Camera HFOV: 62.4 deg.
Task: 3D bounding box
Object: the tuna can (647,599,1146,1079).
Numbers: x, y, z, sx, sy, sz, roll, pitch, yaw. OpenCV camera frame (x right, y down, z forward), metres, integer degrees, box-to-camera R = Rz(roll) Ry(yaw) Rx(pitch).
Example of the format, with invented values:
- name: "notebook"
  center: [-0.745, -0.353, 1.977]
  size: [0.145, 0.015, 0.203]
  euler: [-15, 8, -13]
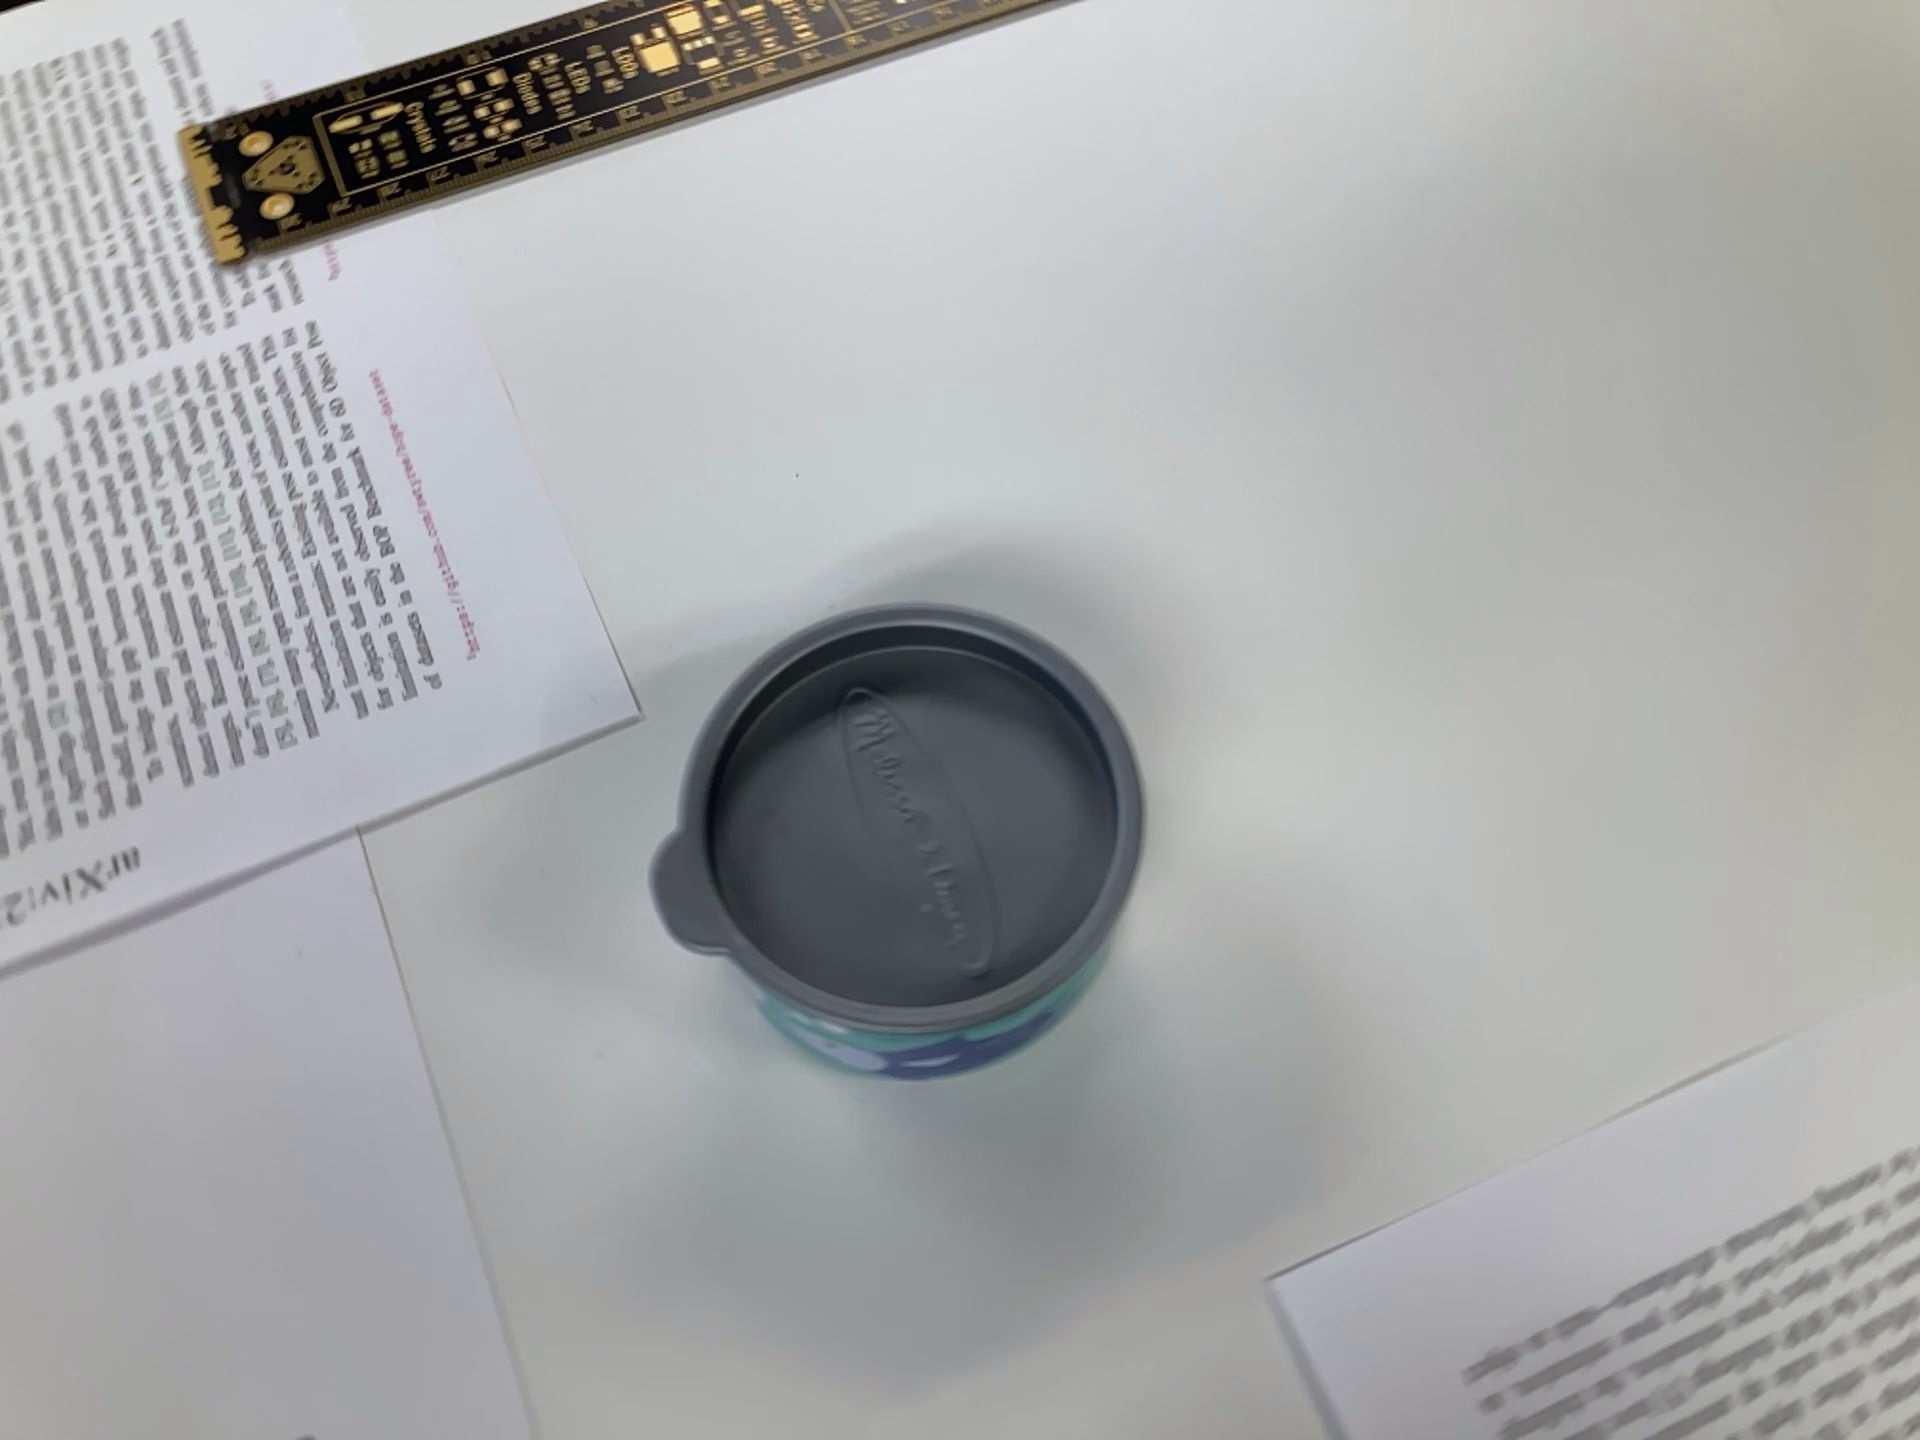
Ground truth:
- name: "tuna can"
  center: [-0.009, 0.019, 0.237]
  size: [0.071, 0.033, 0.071]
  euler: [0, 65, 1]
